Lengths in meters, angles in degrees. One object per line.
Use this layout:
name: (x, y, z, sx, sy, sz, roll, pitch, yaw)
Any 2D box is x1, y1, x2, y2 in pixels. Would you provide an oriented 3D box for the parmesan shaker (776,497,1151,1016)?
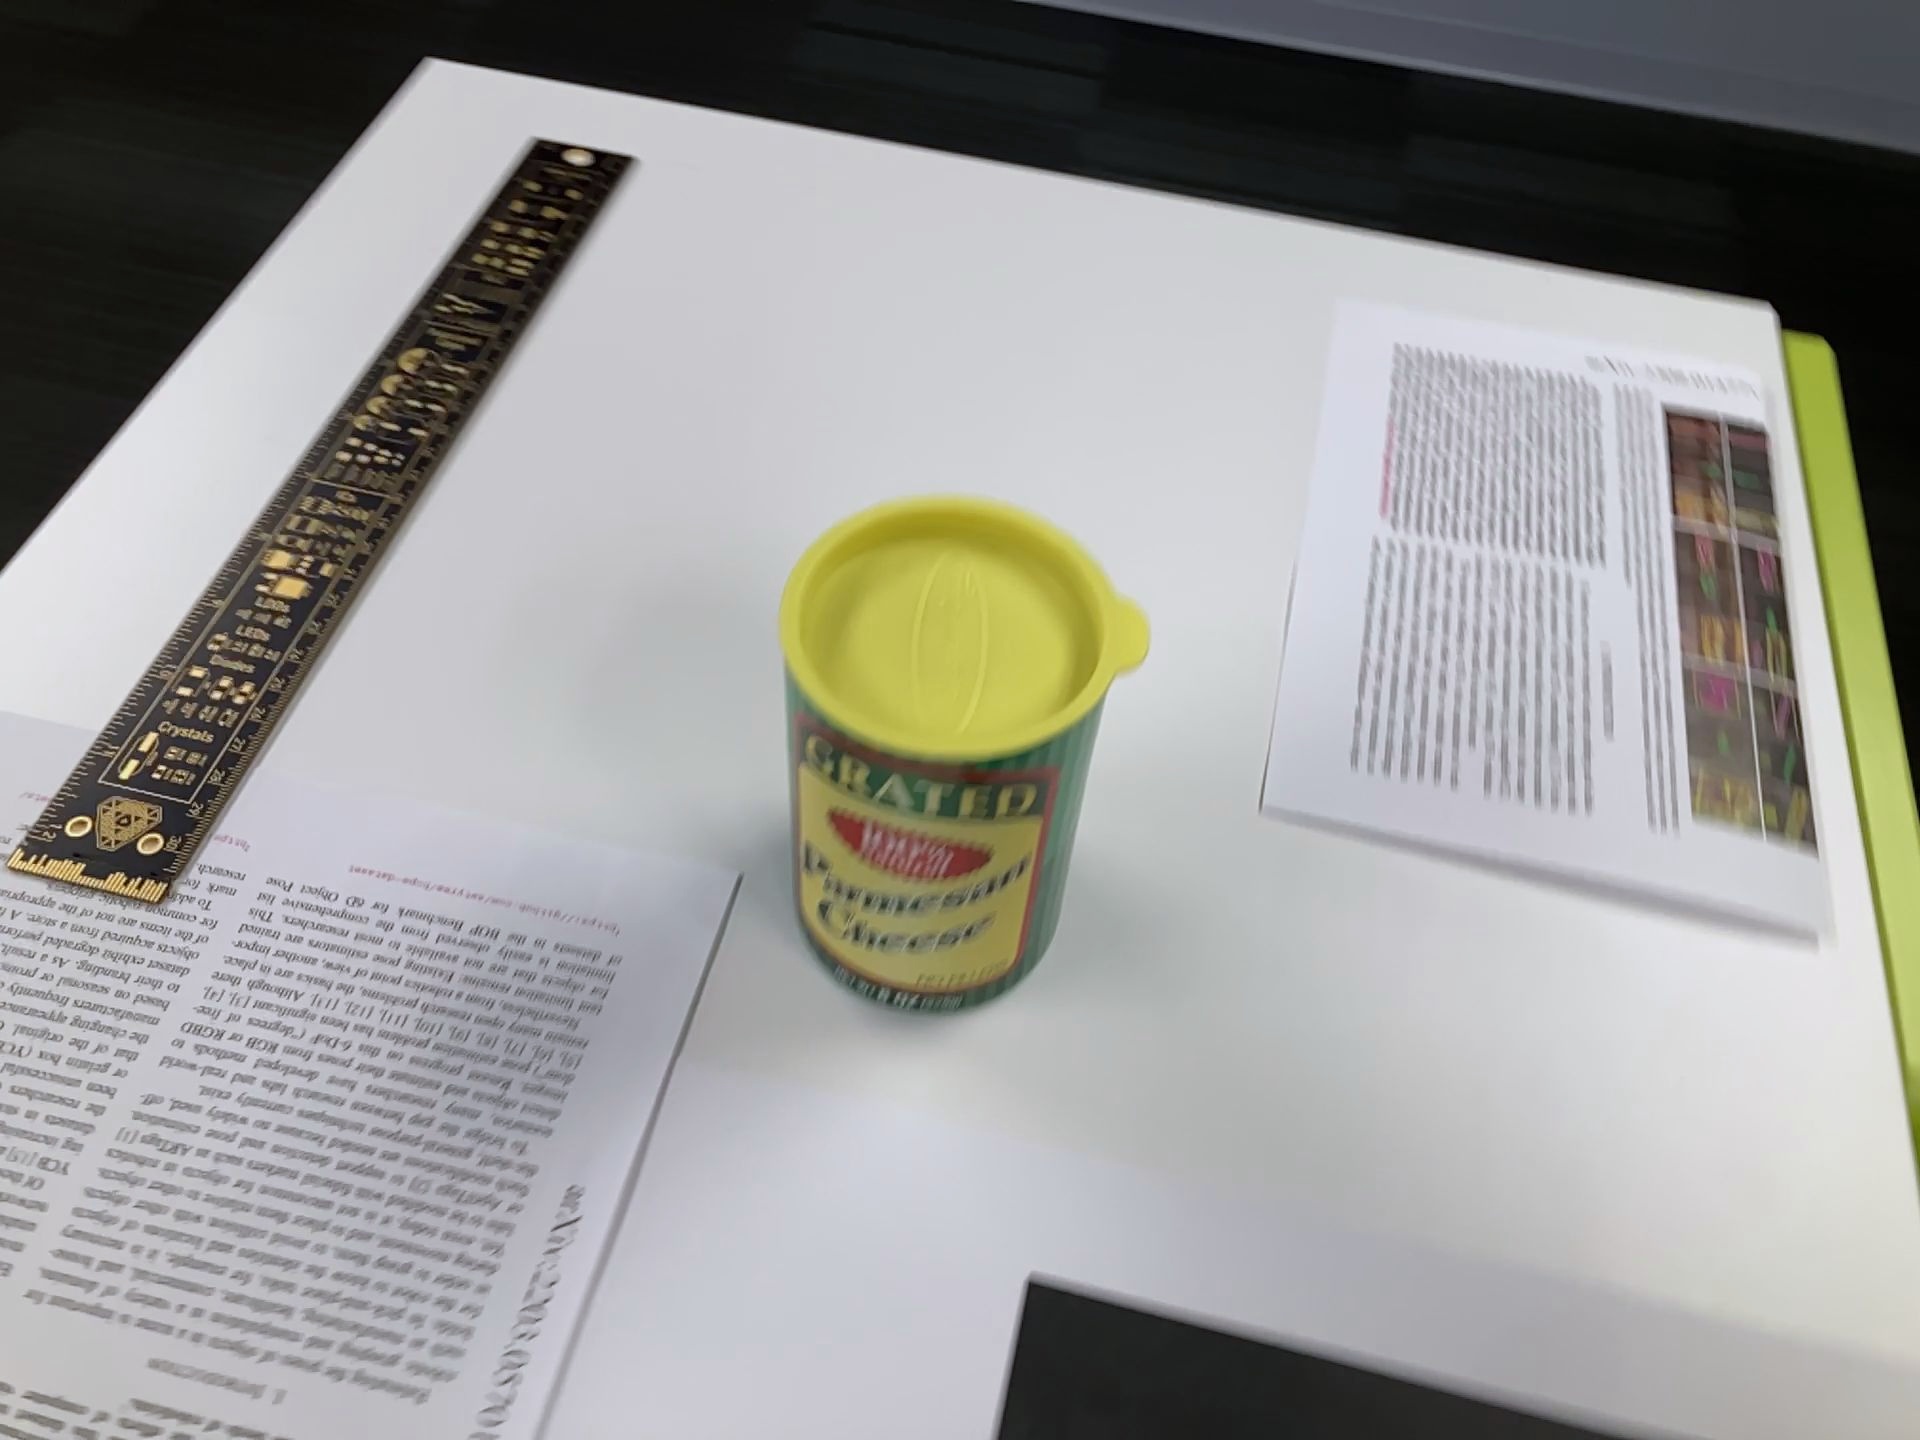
parmesan shaker: (-0.002, 0.013, 0.341, 0.071, 0.103, 0.071, 2, 52, -2)
